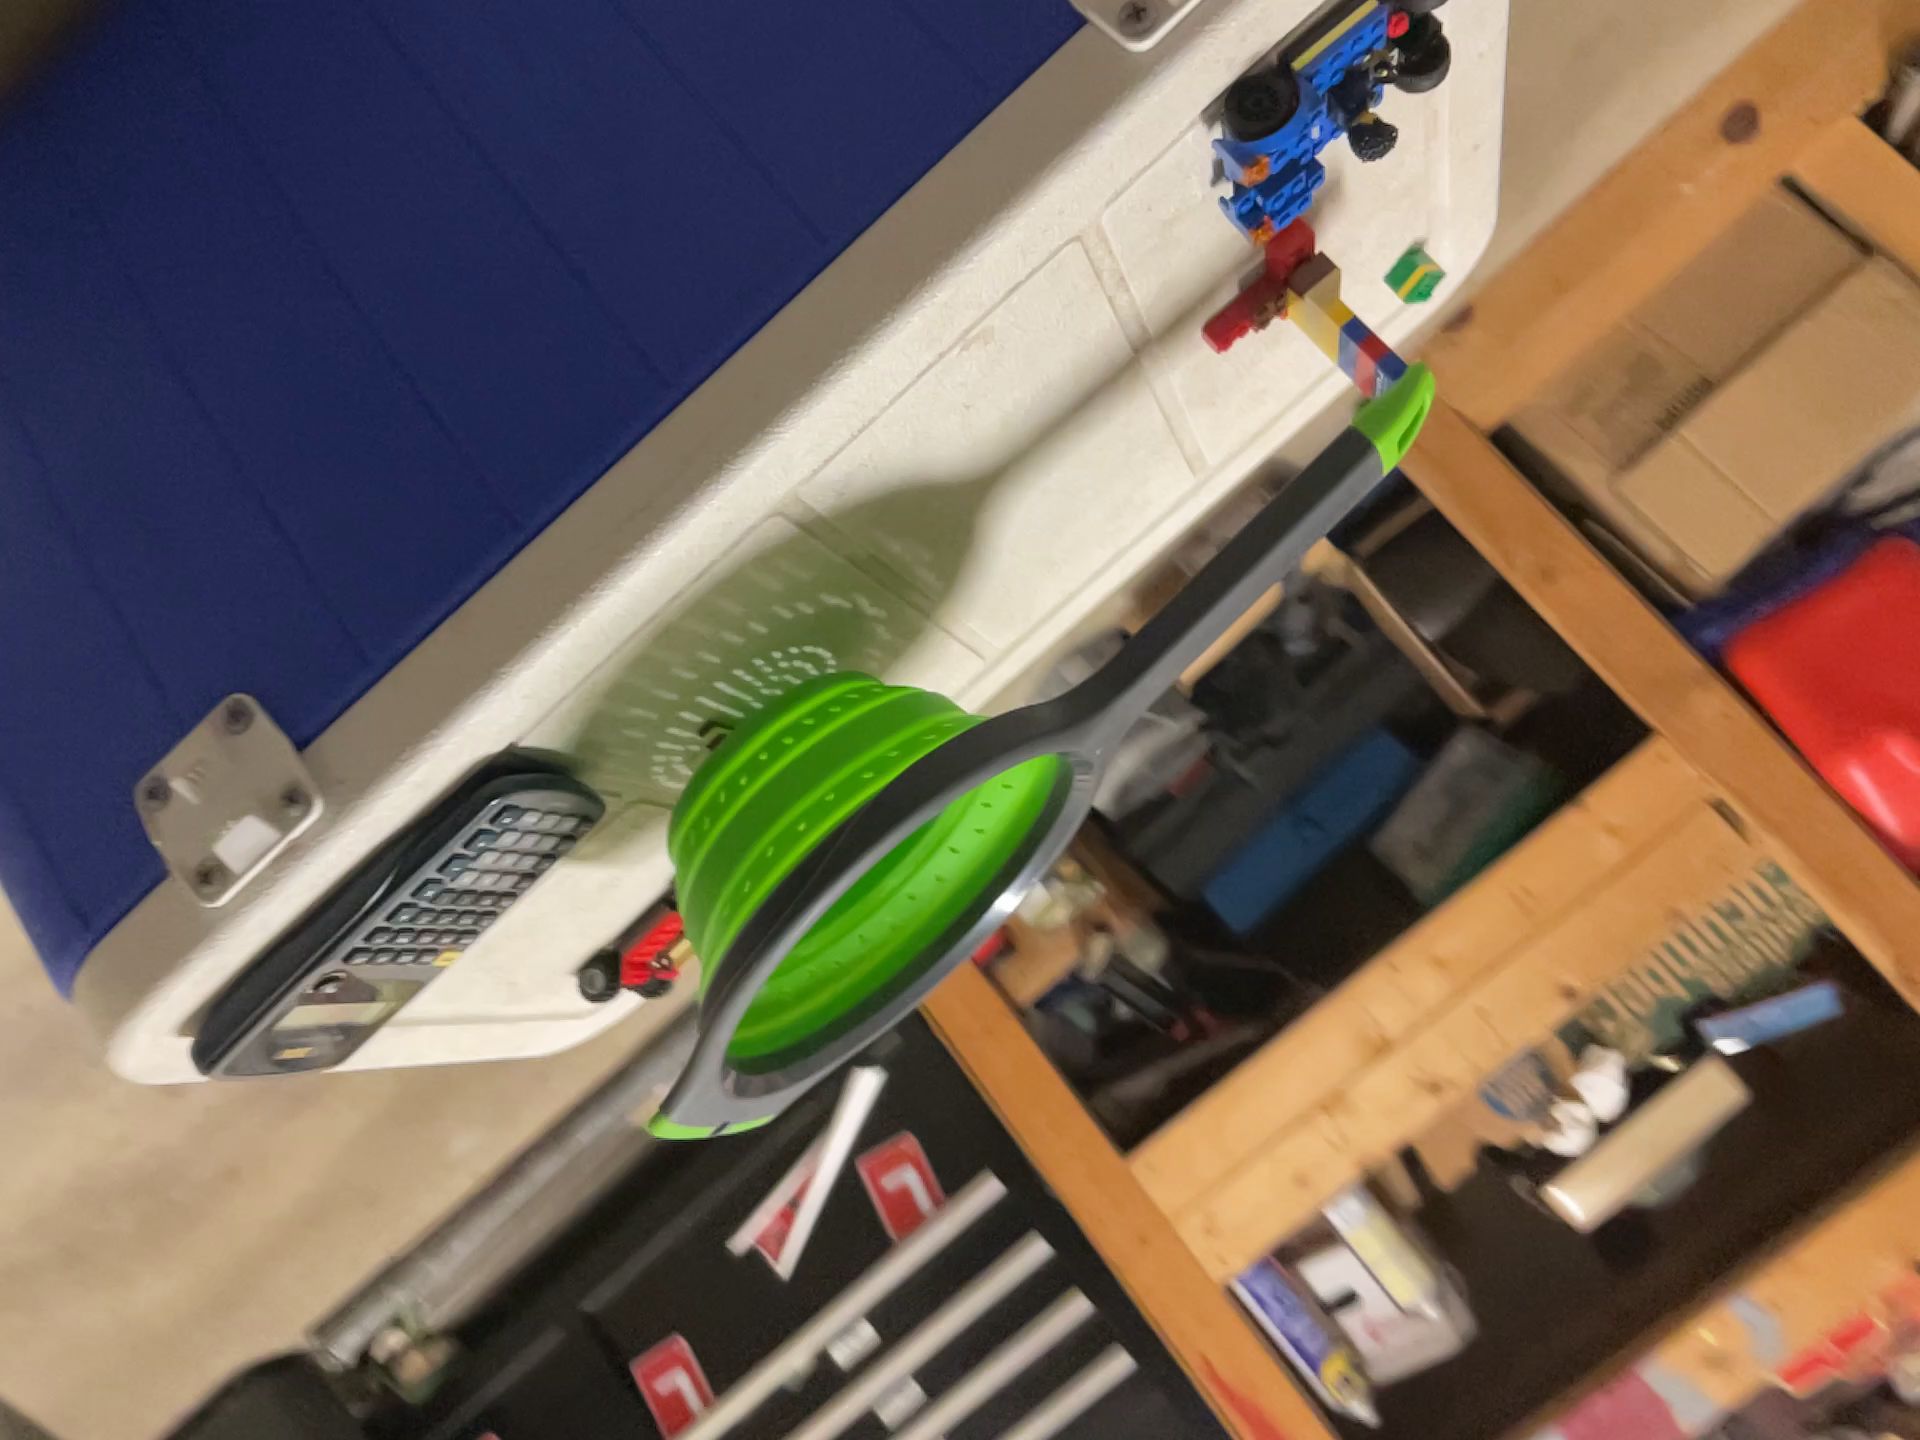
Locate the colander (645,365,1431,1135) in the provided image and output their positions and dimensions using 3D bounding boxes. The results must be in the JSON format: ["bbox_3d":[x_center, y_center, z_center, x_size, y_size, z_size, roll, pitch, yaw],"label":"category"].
[{"bbox_3d":[0.012,-0.009,0.620,0.397,0.094,0.204,-45,159,3],"label":"colander"}]
